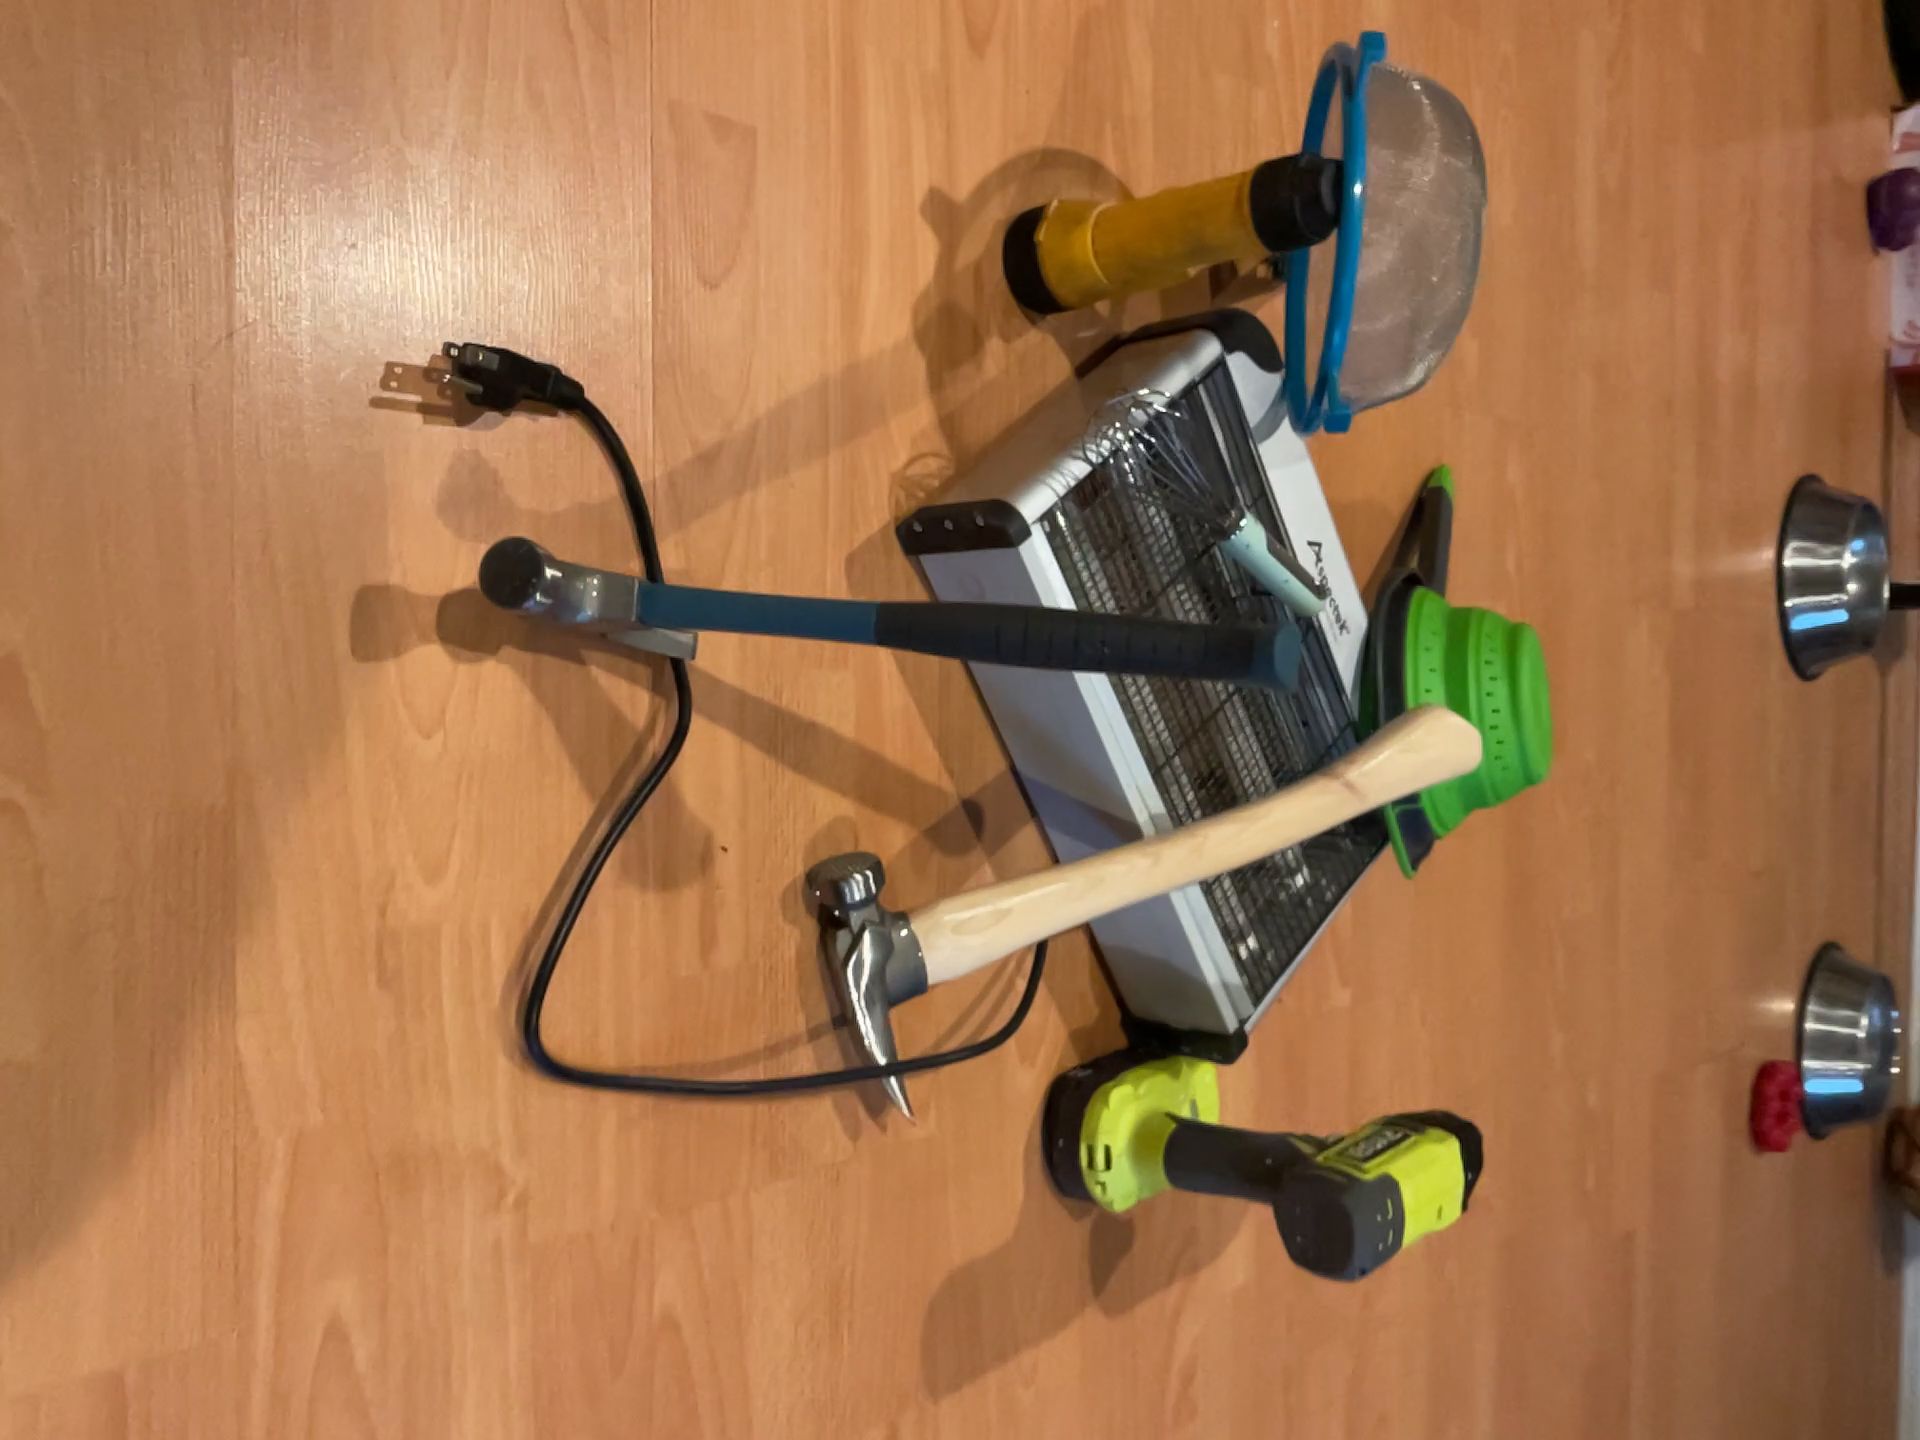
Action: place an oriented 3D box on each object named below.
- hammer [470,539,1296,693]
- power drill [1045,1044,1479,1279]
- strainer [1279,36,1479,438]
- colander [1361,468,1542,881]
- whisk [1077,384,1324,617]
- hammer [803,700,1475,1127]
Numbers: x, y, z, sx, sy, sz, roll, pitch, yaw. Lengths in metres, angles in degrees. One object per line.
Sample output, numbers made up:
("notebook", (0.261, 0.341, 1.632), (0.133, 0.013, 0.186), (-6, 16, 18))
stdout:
("hammer", (-0.024, -0.039, 0.676), (0.128, 0.331, 0.033), (48, 47, -85))
("power drill", (0.177, 0.249, 0.935), (0.171, 0.223, 0.080), (-8, 97, -47))
("strainer", (0.245, -0.278, 0.959), (0.340, 0.095, 0.210), (-62, 155, -74))
("colander", (0.367, -0.063, 1.157), (0.204, 0.094, 0.397), (63, 33, -35))
("whisk", (0.145, -0.116, 0.905), (0.246, 0.059, 0.058), (31, 39, -46))
("hammer", (0.120, 0.085, 0.896), (0.411, 0.038, 0.146), (-19, 105, -20))
